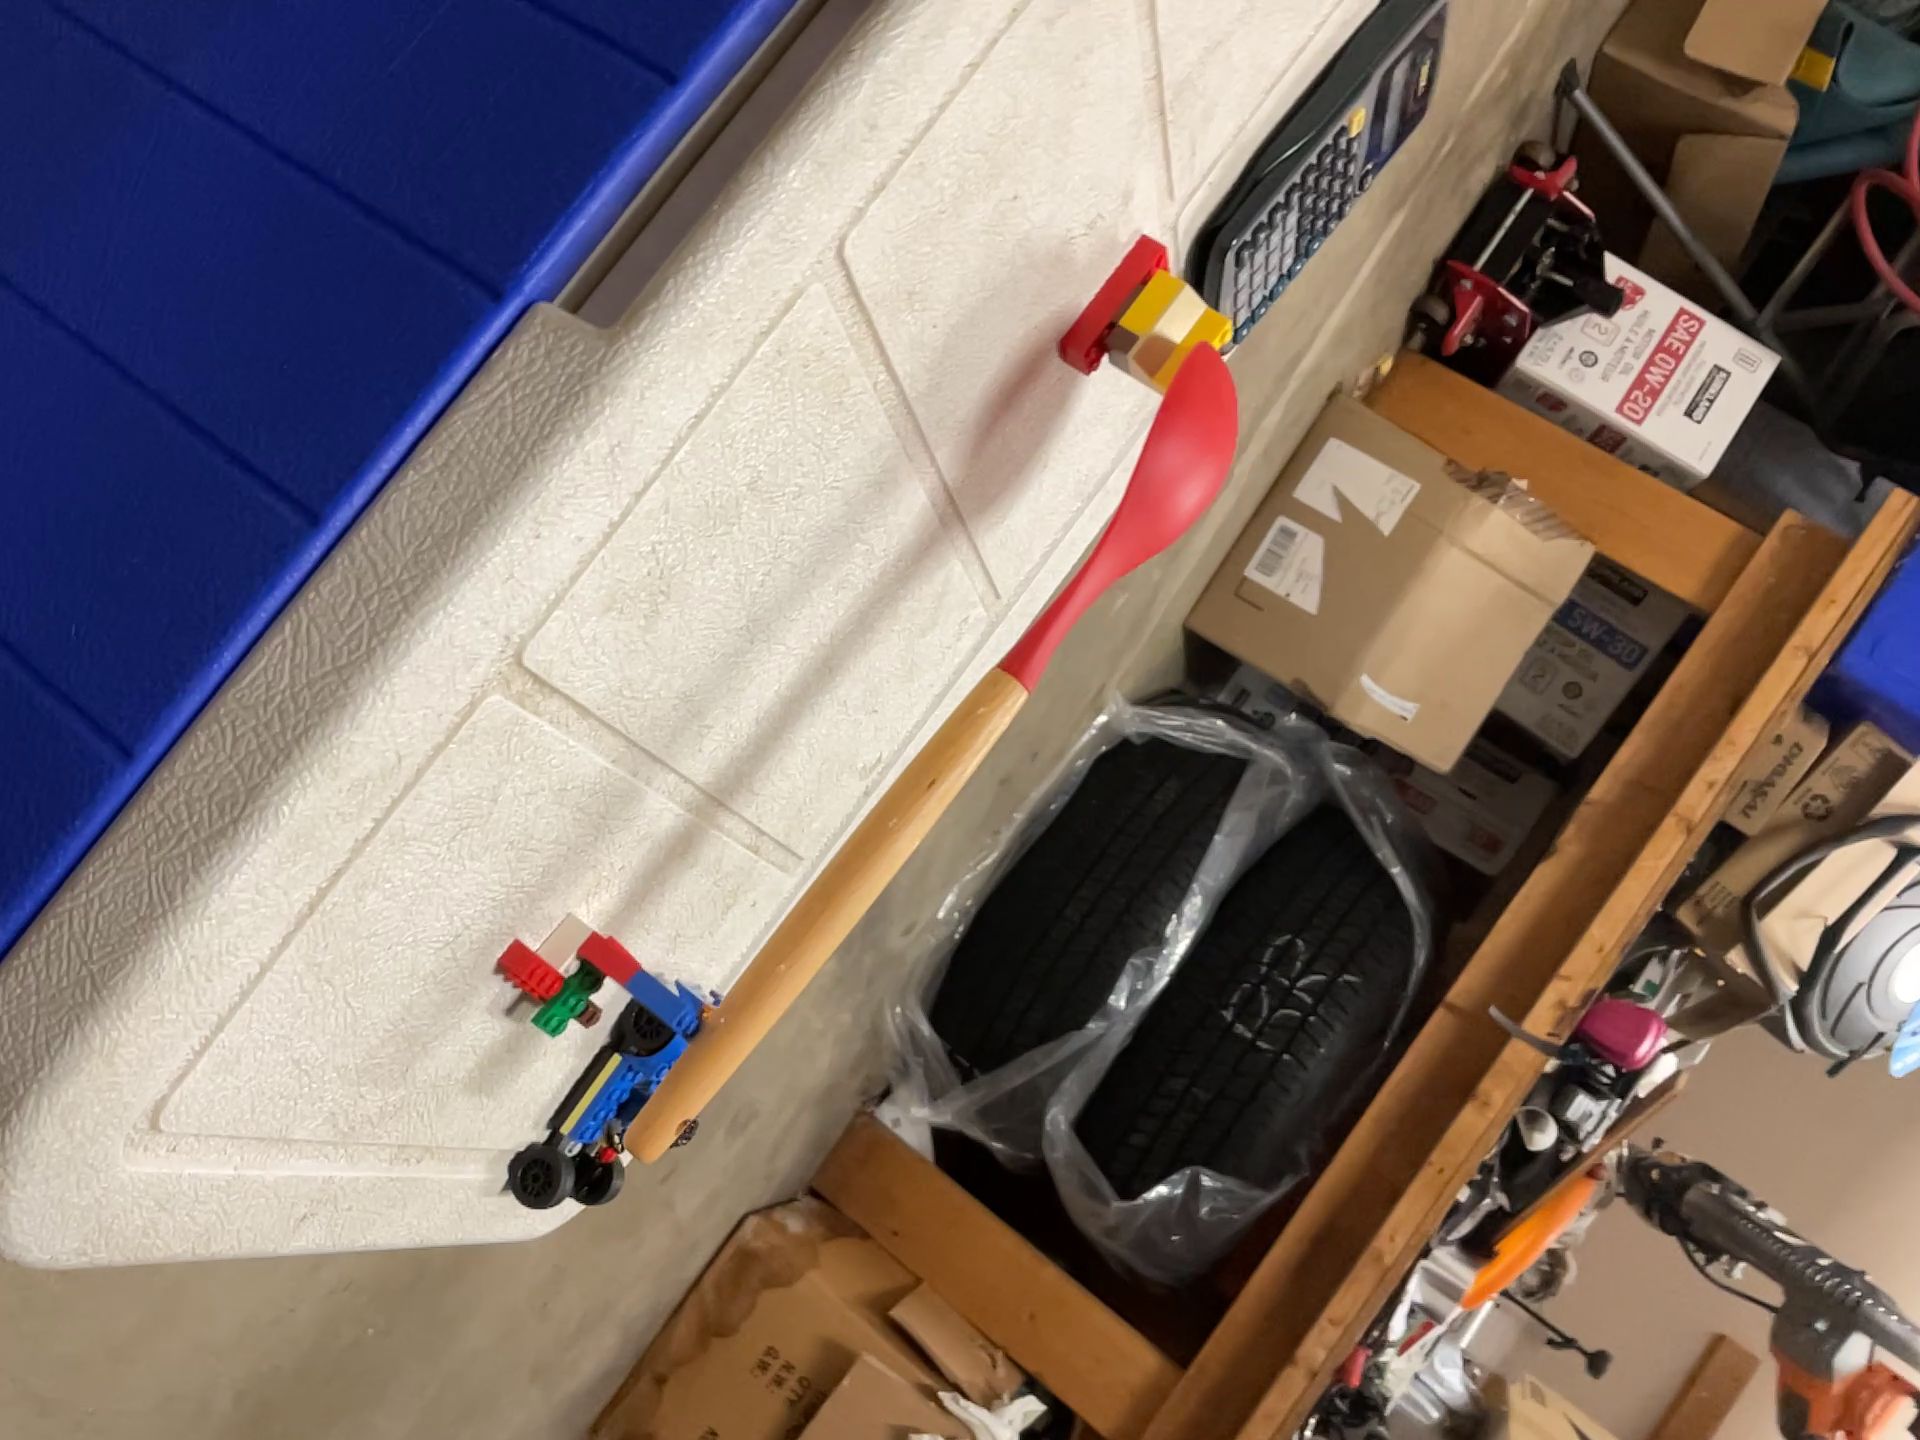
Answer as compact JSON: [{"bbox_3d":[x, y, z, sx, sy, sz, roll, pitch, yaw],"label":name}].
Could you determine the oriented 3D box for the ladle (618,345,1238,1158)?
[{"bbox_3d":[-0.001,0.006,0.504,0.315,0.031,0.069,-51,162,-12],"label":"ladle"}]
